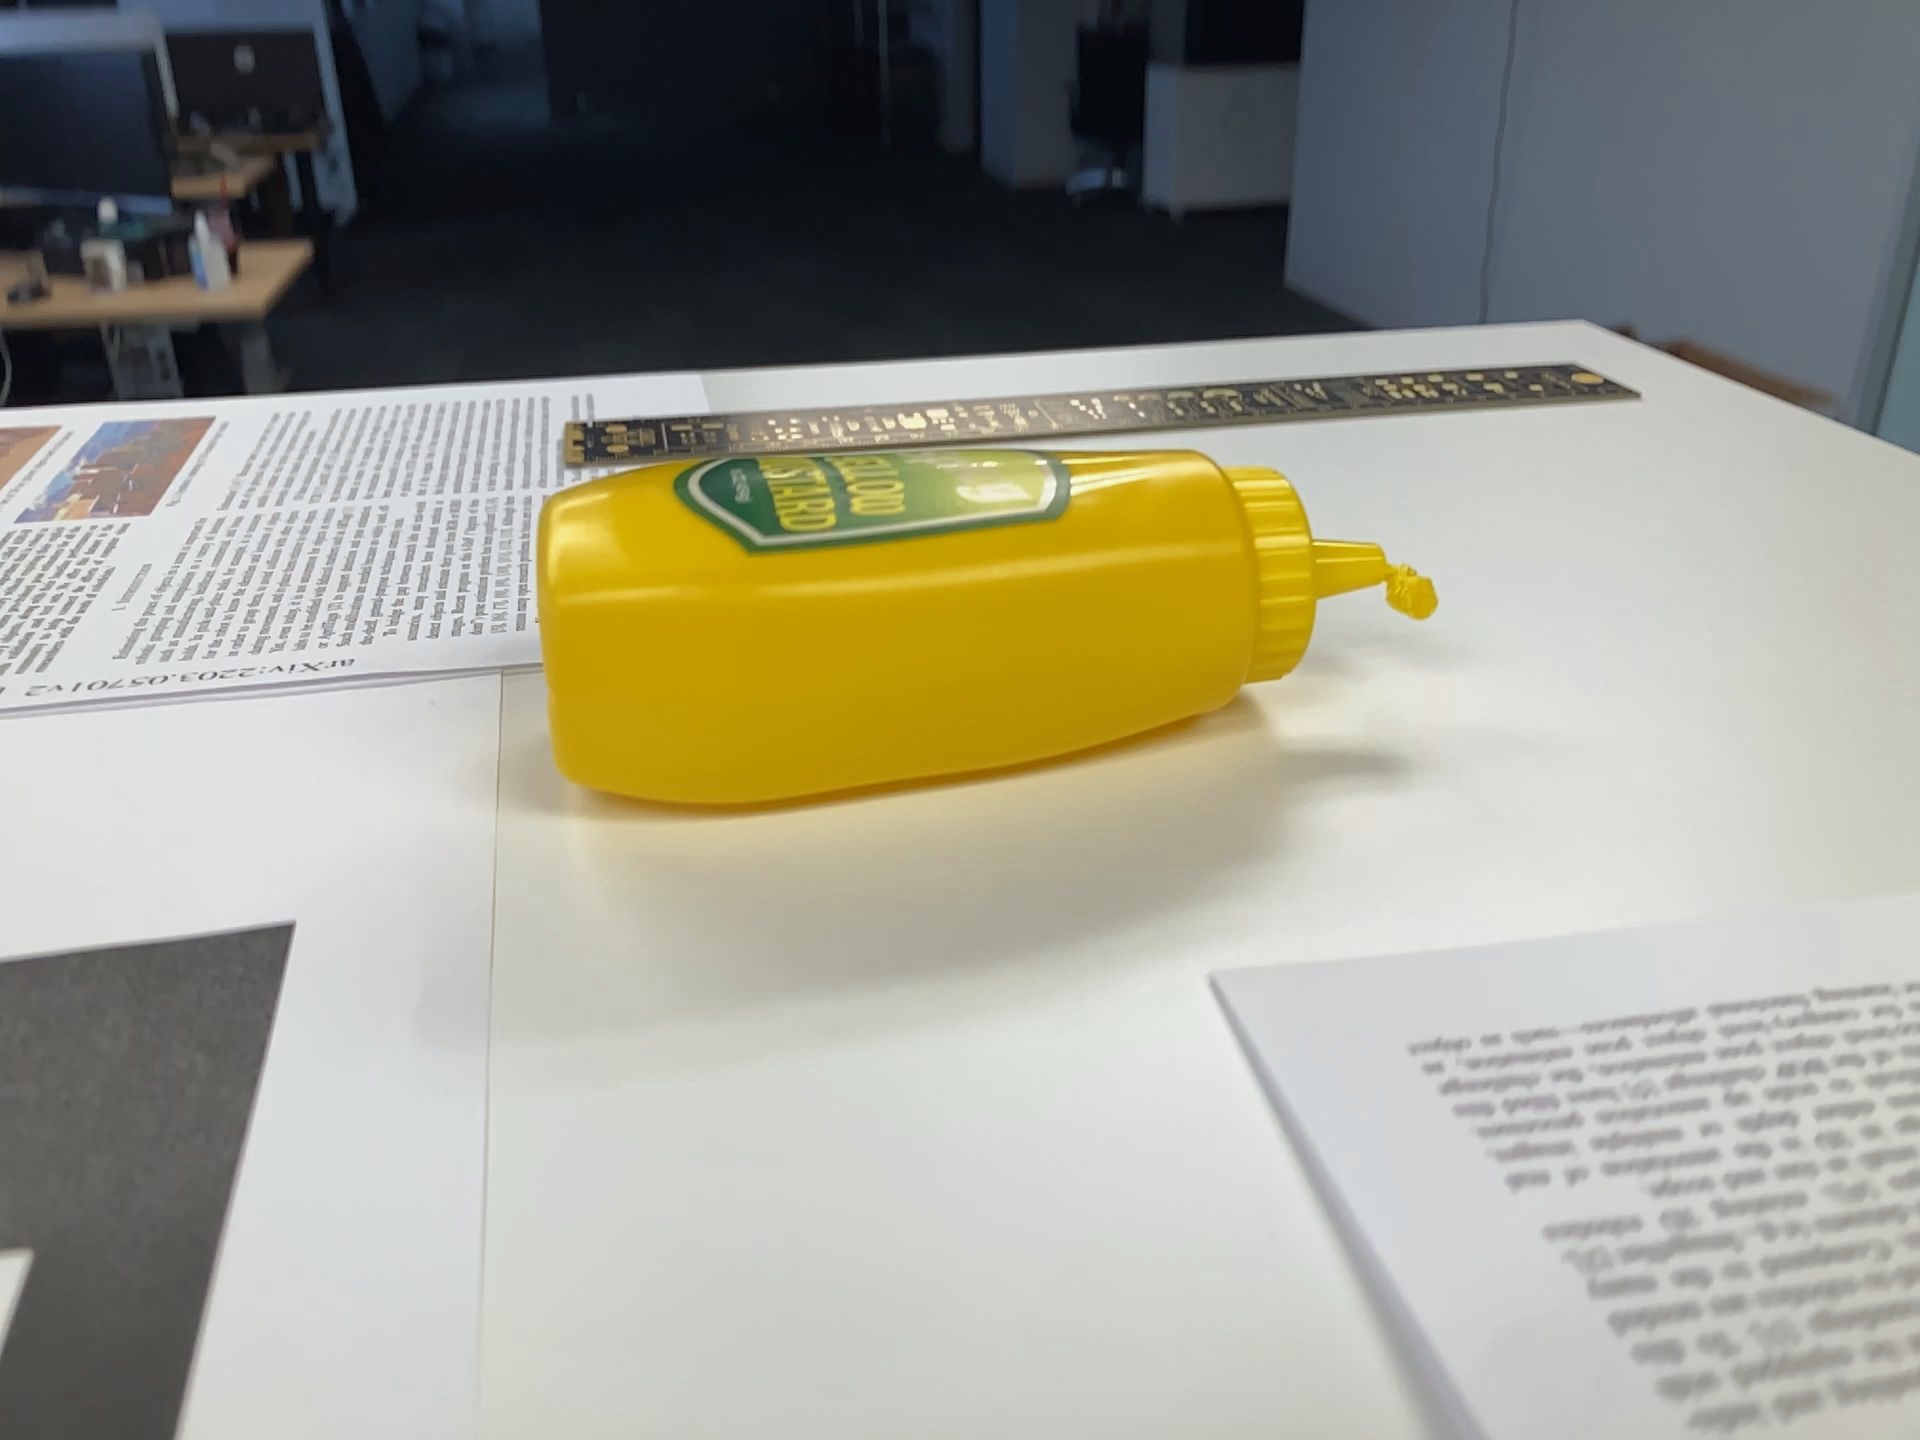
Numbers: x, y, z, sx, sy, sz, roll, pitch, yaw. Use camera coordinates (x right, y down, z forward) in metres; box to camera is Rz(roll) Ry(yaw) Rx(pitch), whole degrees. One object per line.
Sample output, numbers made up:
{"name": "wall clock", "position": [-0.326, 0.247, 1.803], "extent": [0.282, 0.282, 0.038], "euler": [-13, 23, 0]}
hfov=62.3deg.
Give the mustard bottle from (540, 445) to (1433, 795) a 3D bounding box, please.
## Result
{"name": "mustard bottle", "position": [0.009, -0.023, 0.281], "extent": [0.160, 0.049, 0.065], "euler": [-6, 28, -12]}
